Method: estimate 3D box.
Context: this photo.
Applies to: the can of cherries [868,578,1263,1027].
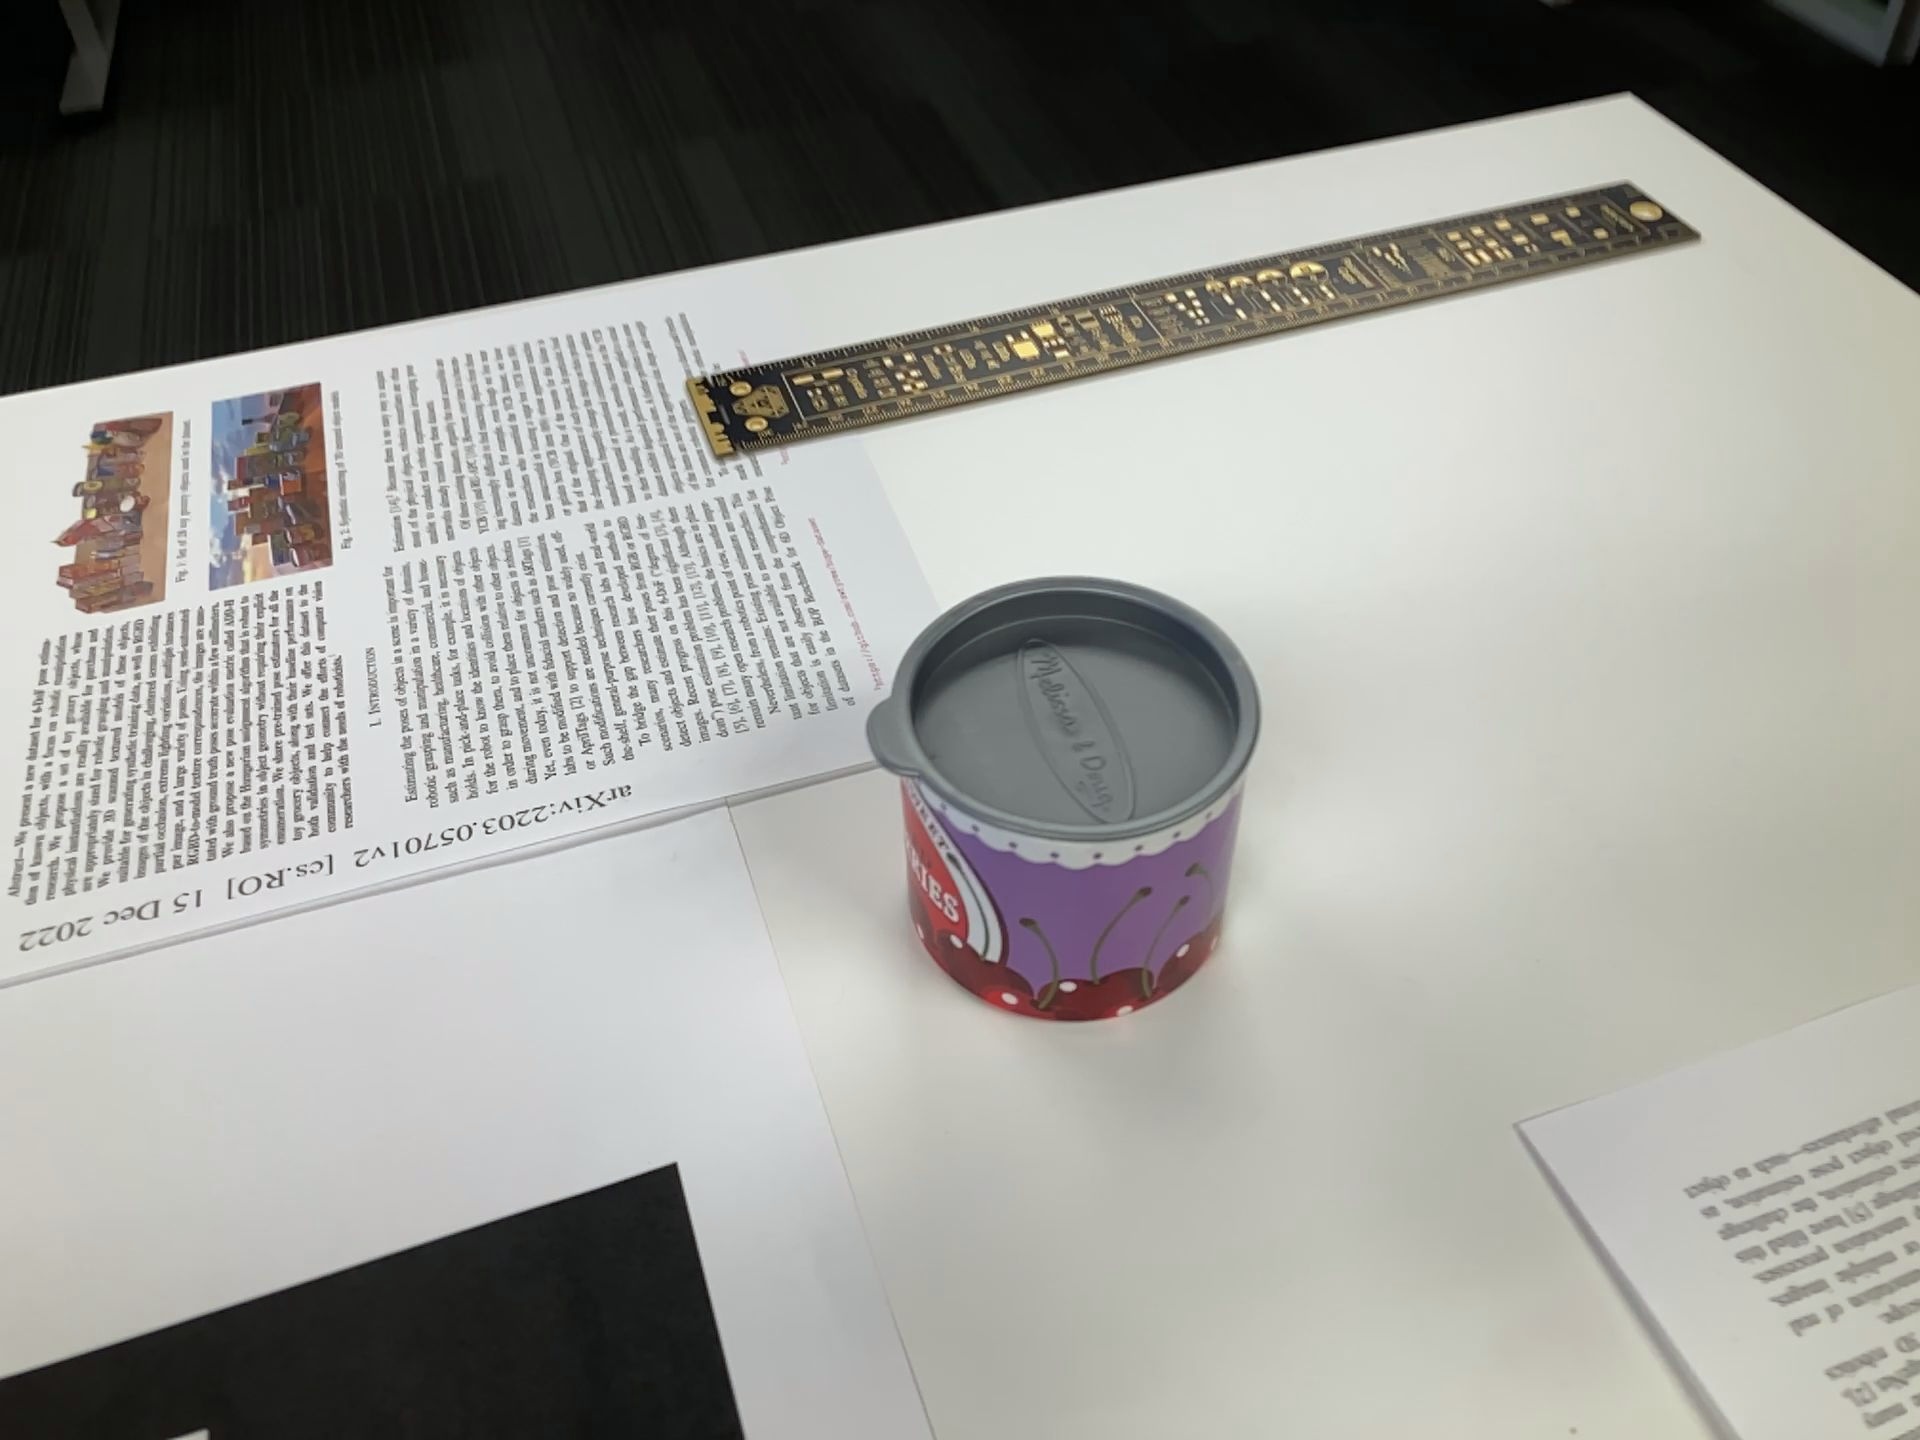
[{"bbox_3d":[0.019,0.016,0.303,0.071,0.058,0.071,-1,46,1],"label":"can of cherries"}]
